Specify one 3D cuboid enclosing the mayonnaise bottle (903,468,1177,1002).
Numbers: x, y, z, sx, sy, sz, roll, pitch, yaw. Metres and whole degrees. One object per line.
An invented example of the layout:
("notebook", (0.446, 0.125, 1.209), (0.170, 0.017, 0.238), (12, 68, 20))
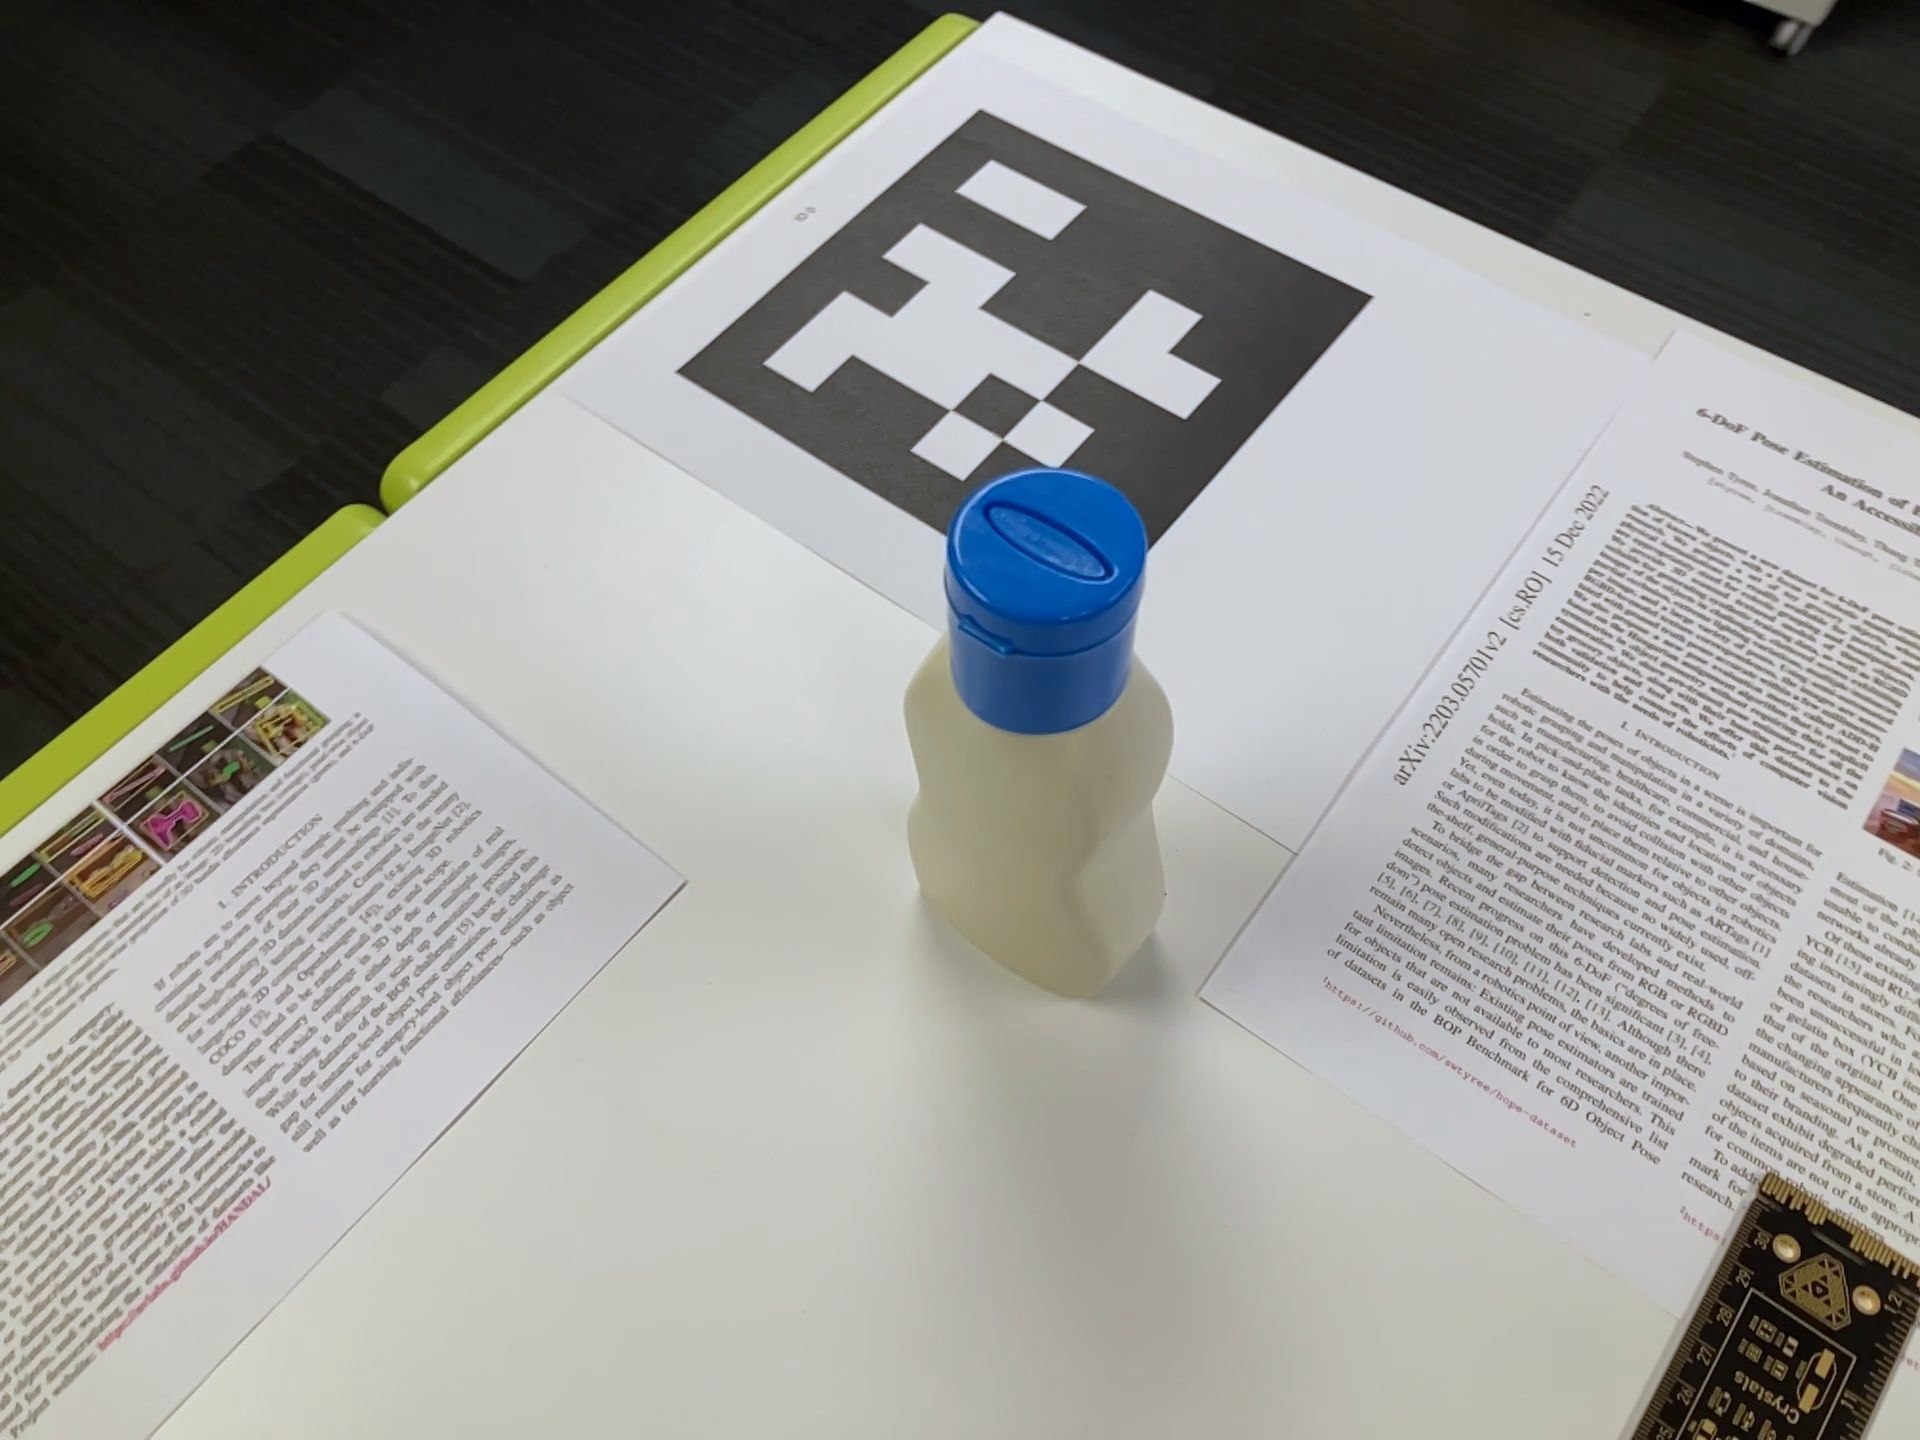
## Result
("mayonnaise bottle", (0.017, 0.008, 0.341), (0.065, 0.148, 0.041), (33, 64, 20))
